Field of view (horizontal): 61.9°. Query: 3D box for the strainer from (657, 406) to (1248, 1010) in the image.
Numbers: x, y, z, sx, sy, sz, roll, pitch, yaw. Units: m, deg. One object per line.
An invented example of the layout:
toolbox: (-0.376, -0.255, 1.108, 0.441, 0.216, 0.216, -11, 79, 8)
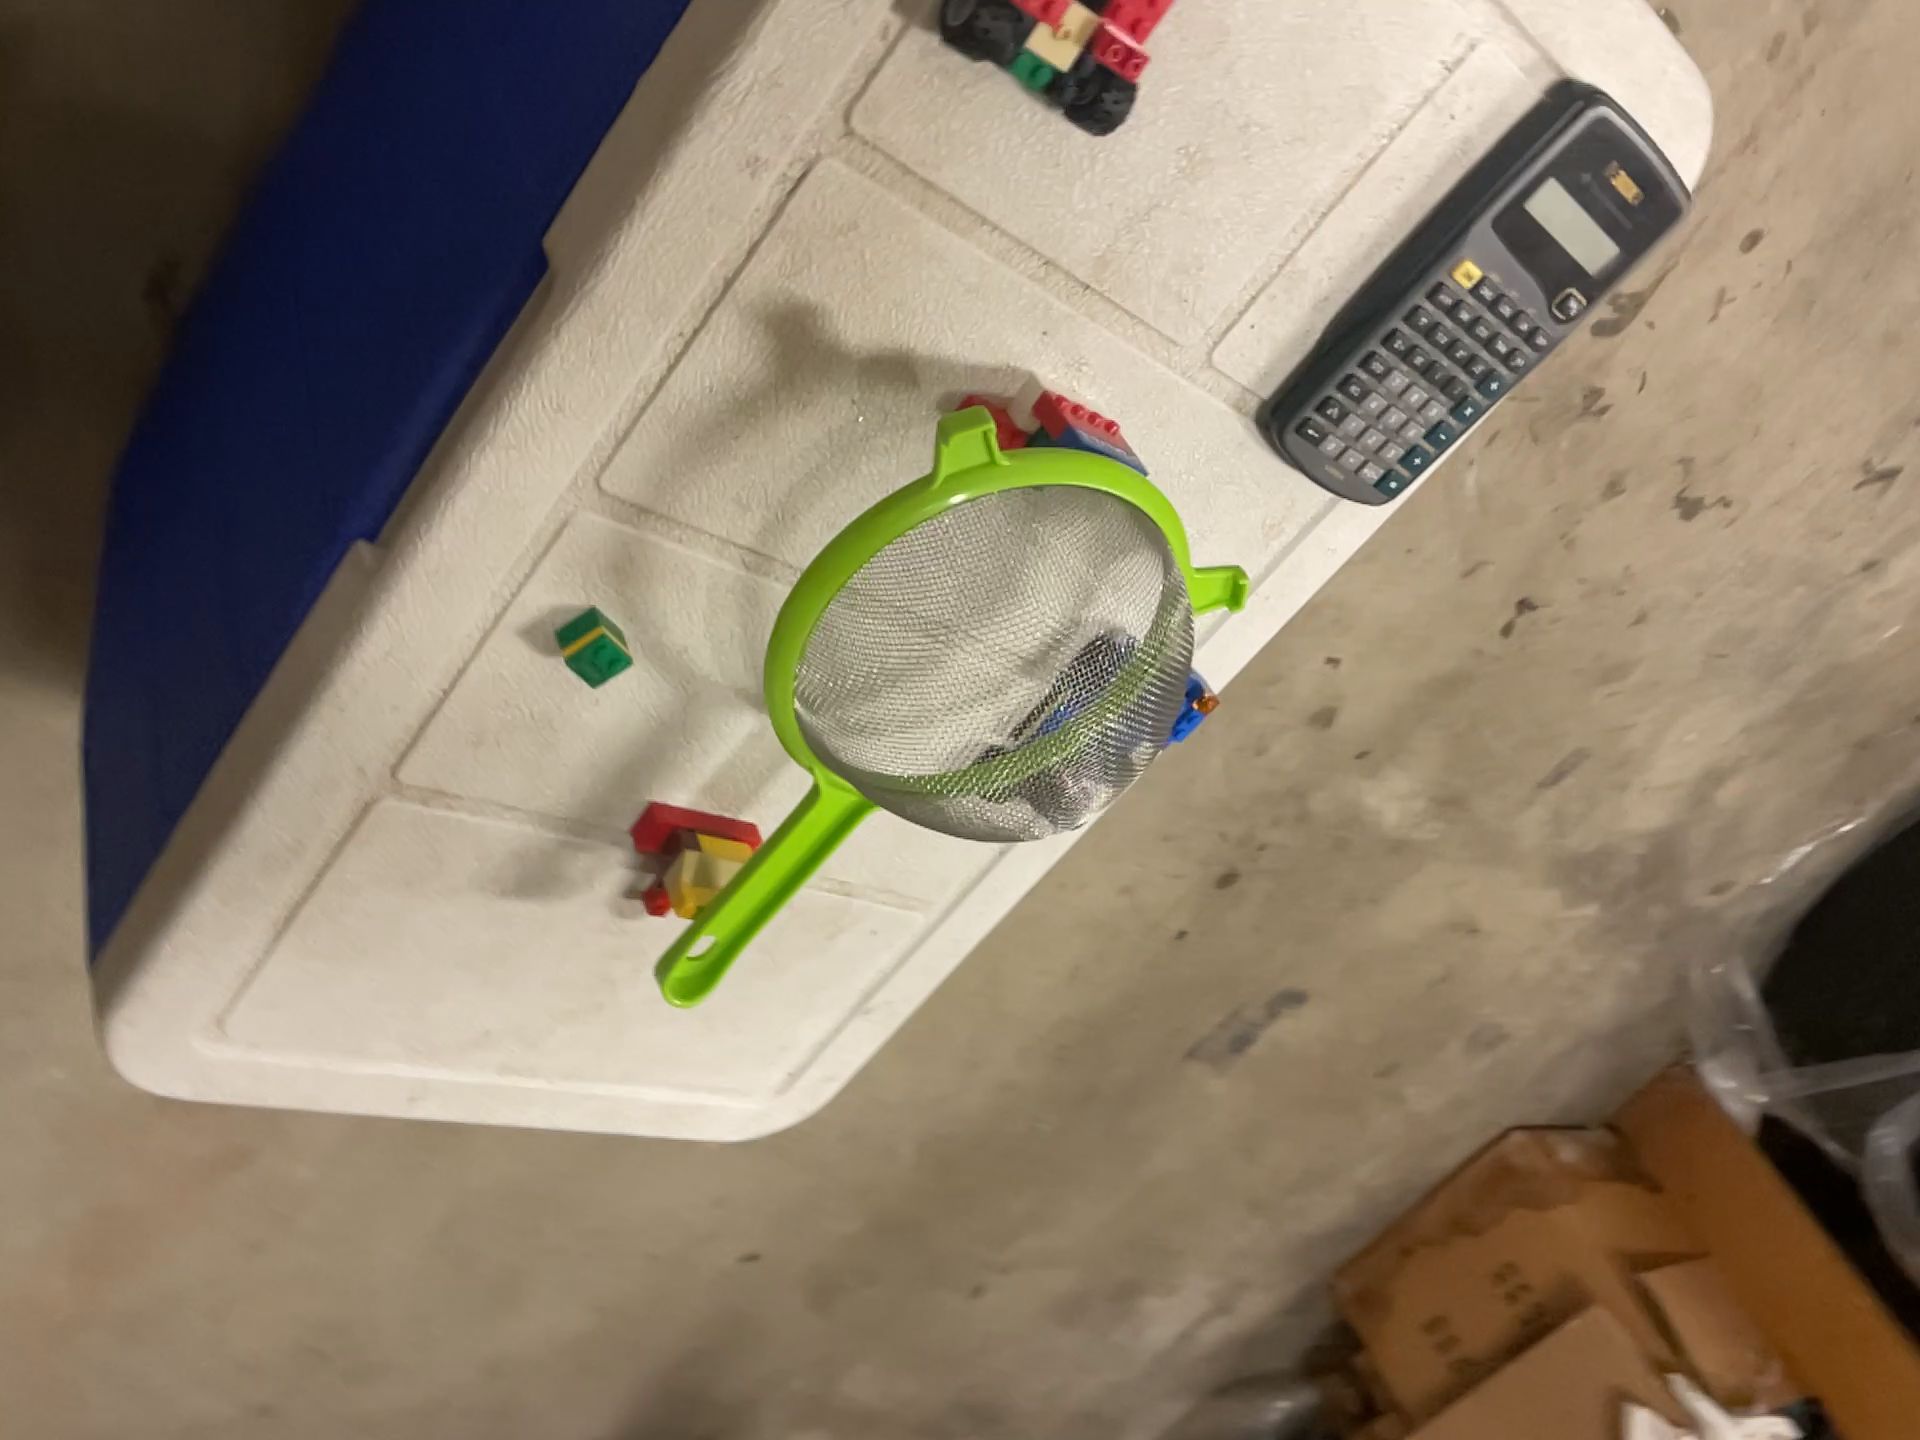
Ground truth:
strainer: (-0.015, 0.028, 0.530, 0.151, 0.069, 0.256, 21, 119, -44)
